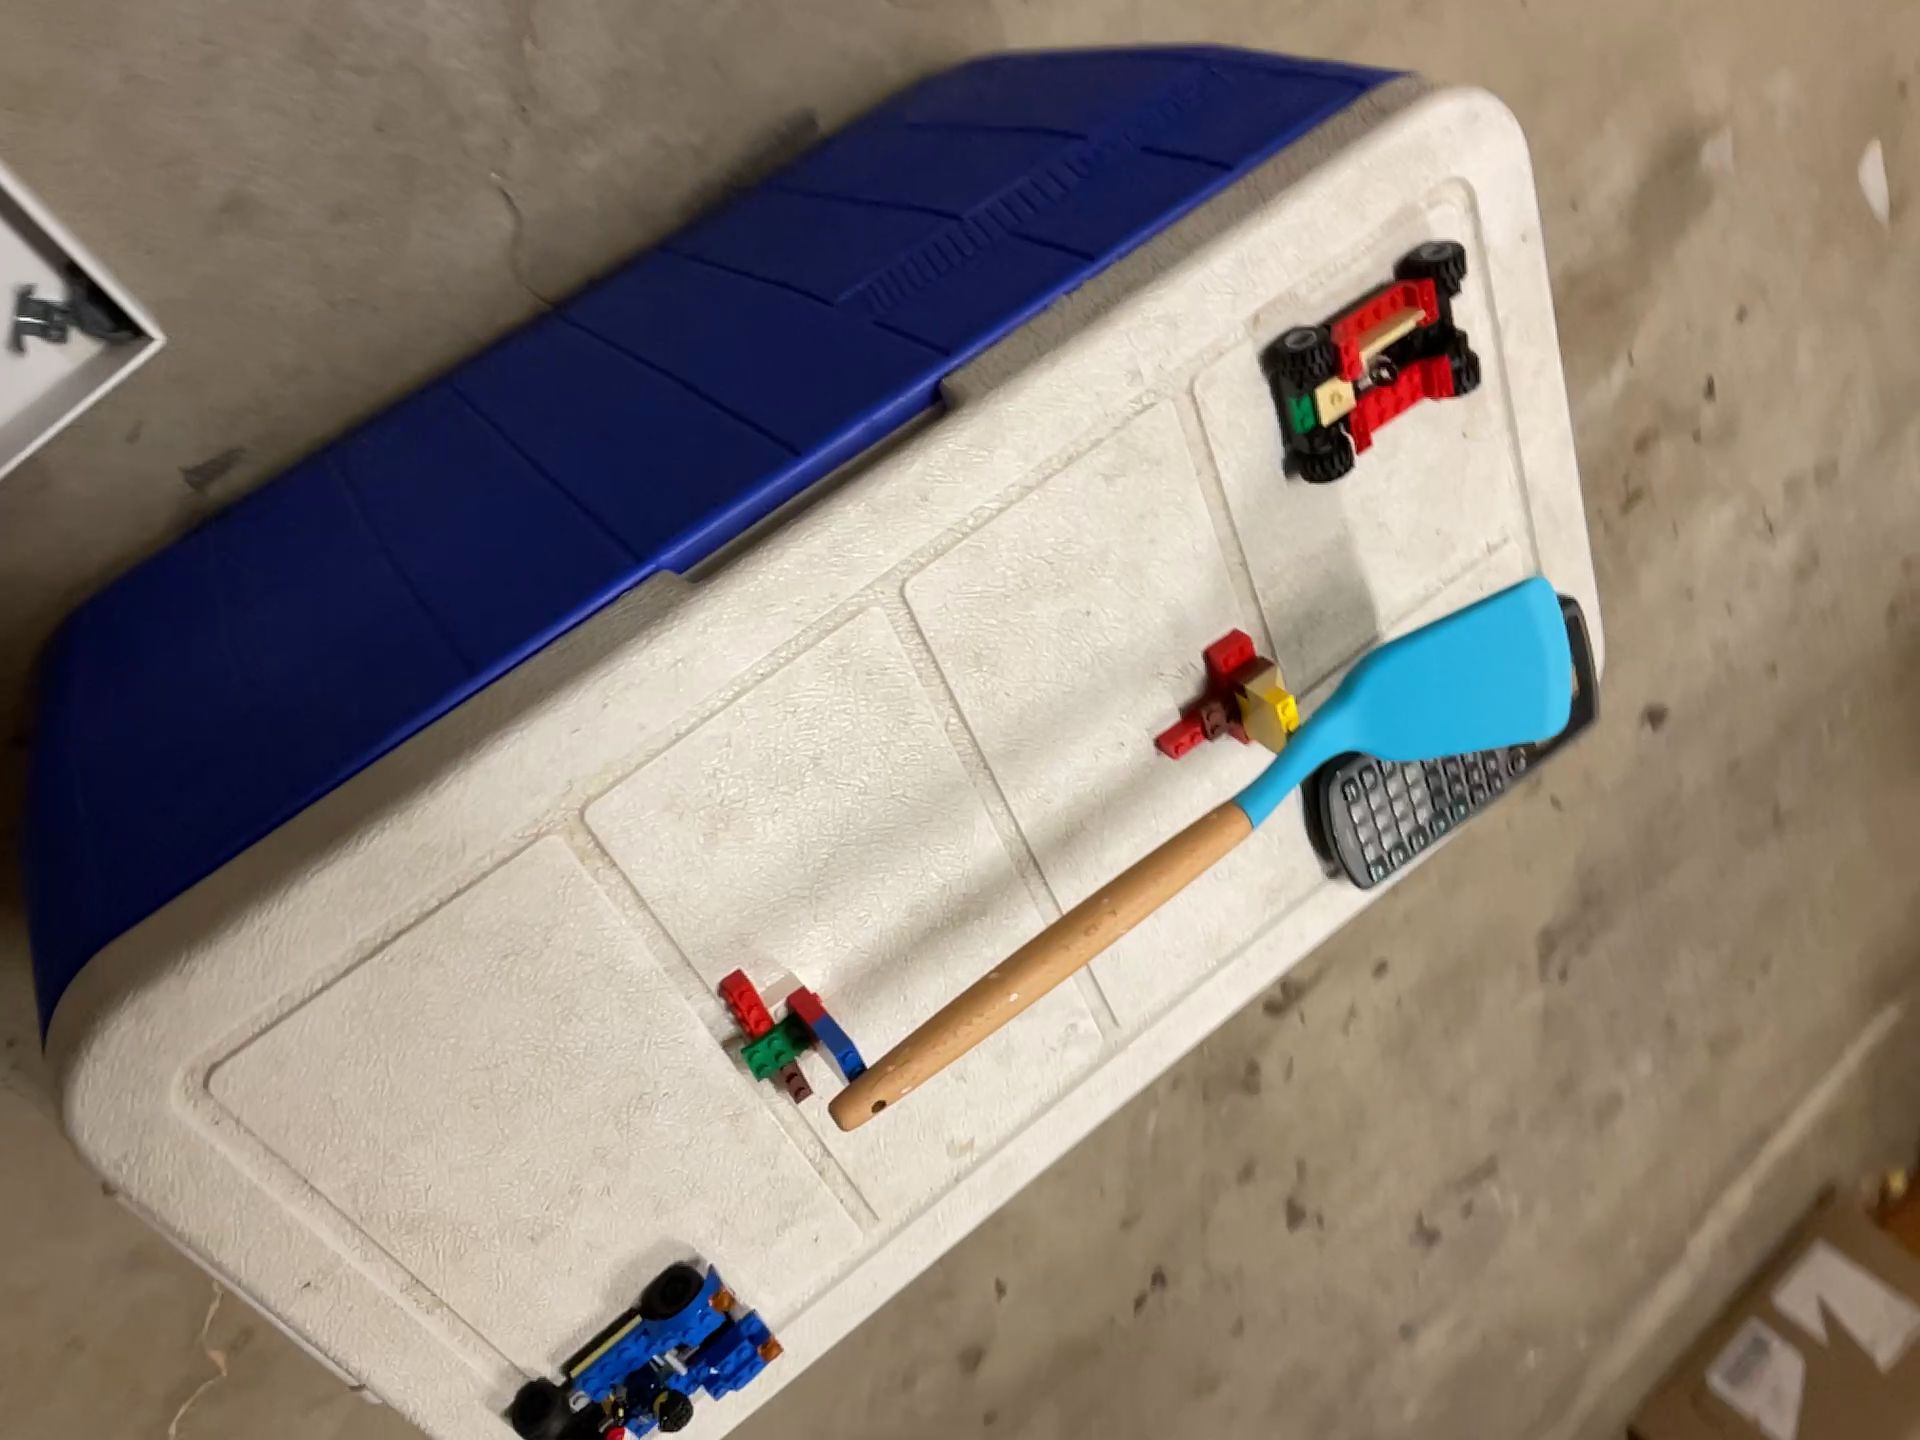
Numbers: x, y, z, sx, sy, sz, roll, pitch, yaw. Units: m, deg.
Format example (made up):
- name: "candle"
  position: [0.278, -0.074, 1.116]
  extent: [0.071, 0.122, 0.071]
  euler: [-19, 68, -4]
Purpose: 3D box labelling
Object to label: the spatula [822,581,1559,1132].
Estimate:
- name: "spatula"
  position: [0.087, 0.054, 0.579]
  extent: [0.317, 0.044, 0.082]
  euler: [-34, 131, -14]
